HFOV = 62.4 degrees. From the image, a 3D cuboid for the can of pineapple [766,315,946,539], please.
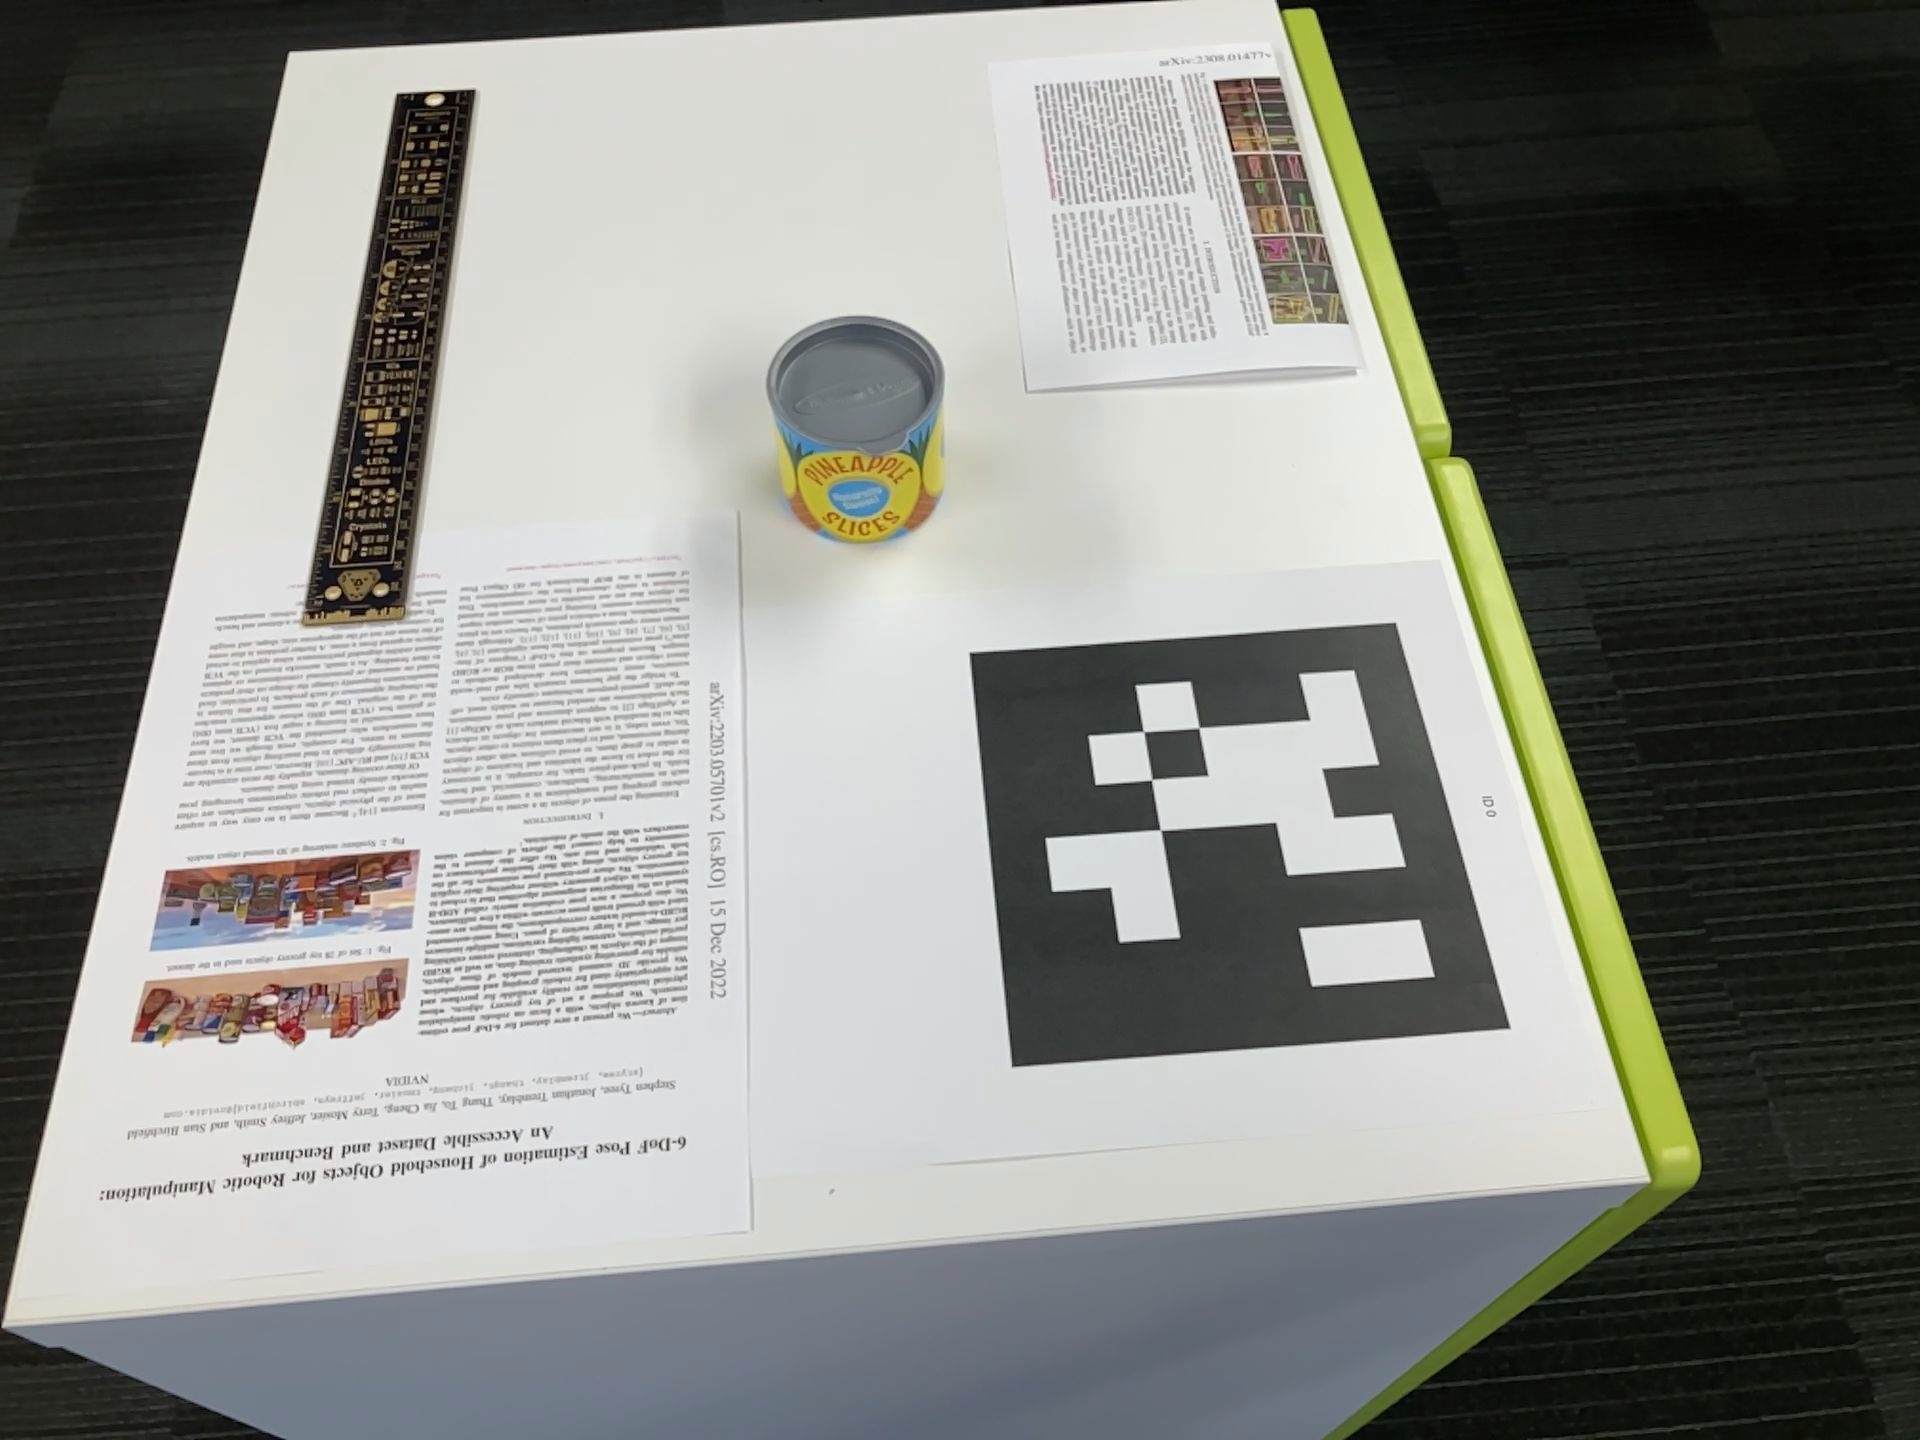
[{"bbox_3d":[-0.039,-0.111,0.614,0.071,0.058,0.071,-1,58,1],"label":"can of pineapple"}]
